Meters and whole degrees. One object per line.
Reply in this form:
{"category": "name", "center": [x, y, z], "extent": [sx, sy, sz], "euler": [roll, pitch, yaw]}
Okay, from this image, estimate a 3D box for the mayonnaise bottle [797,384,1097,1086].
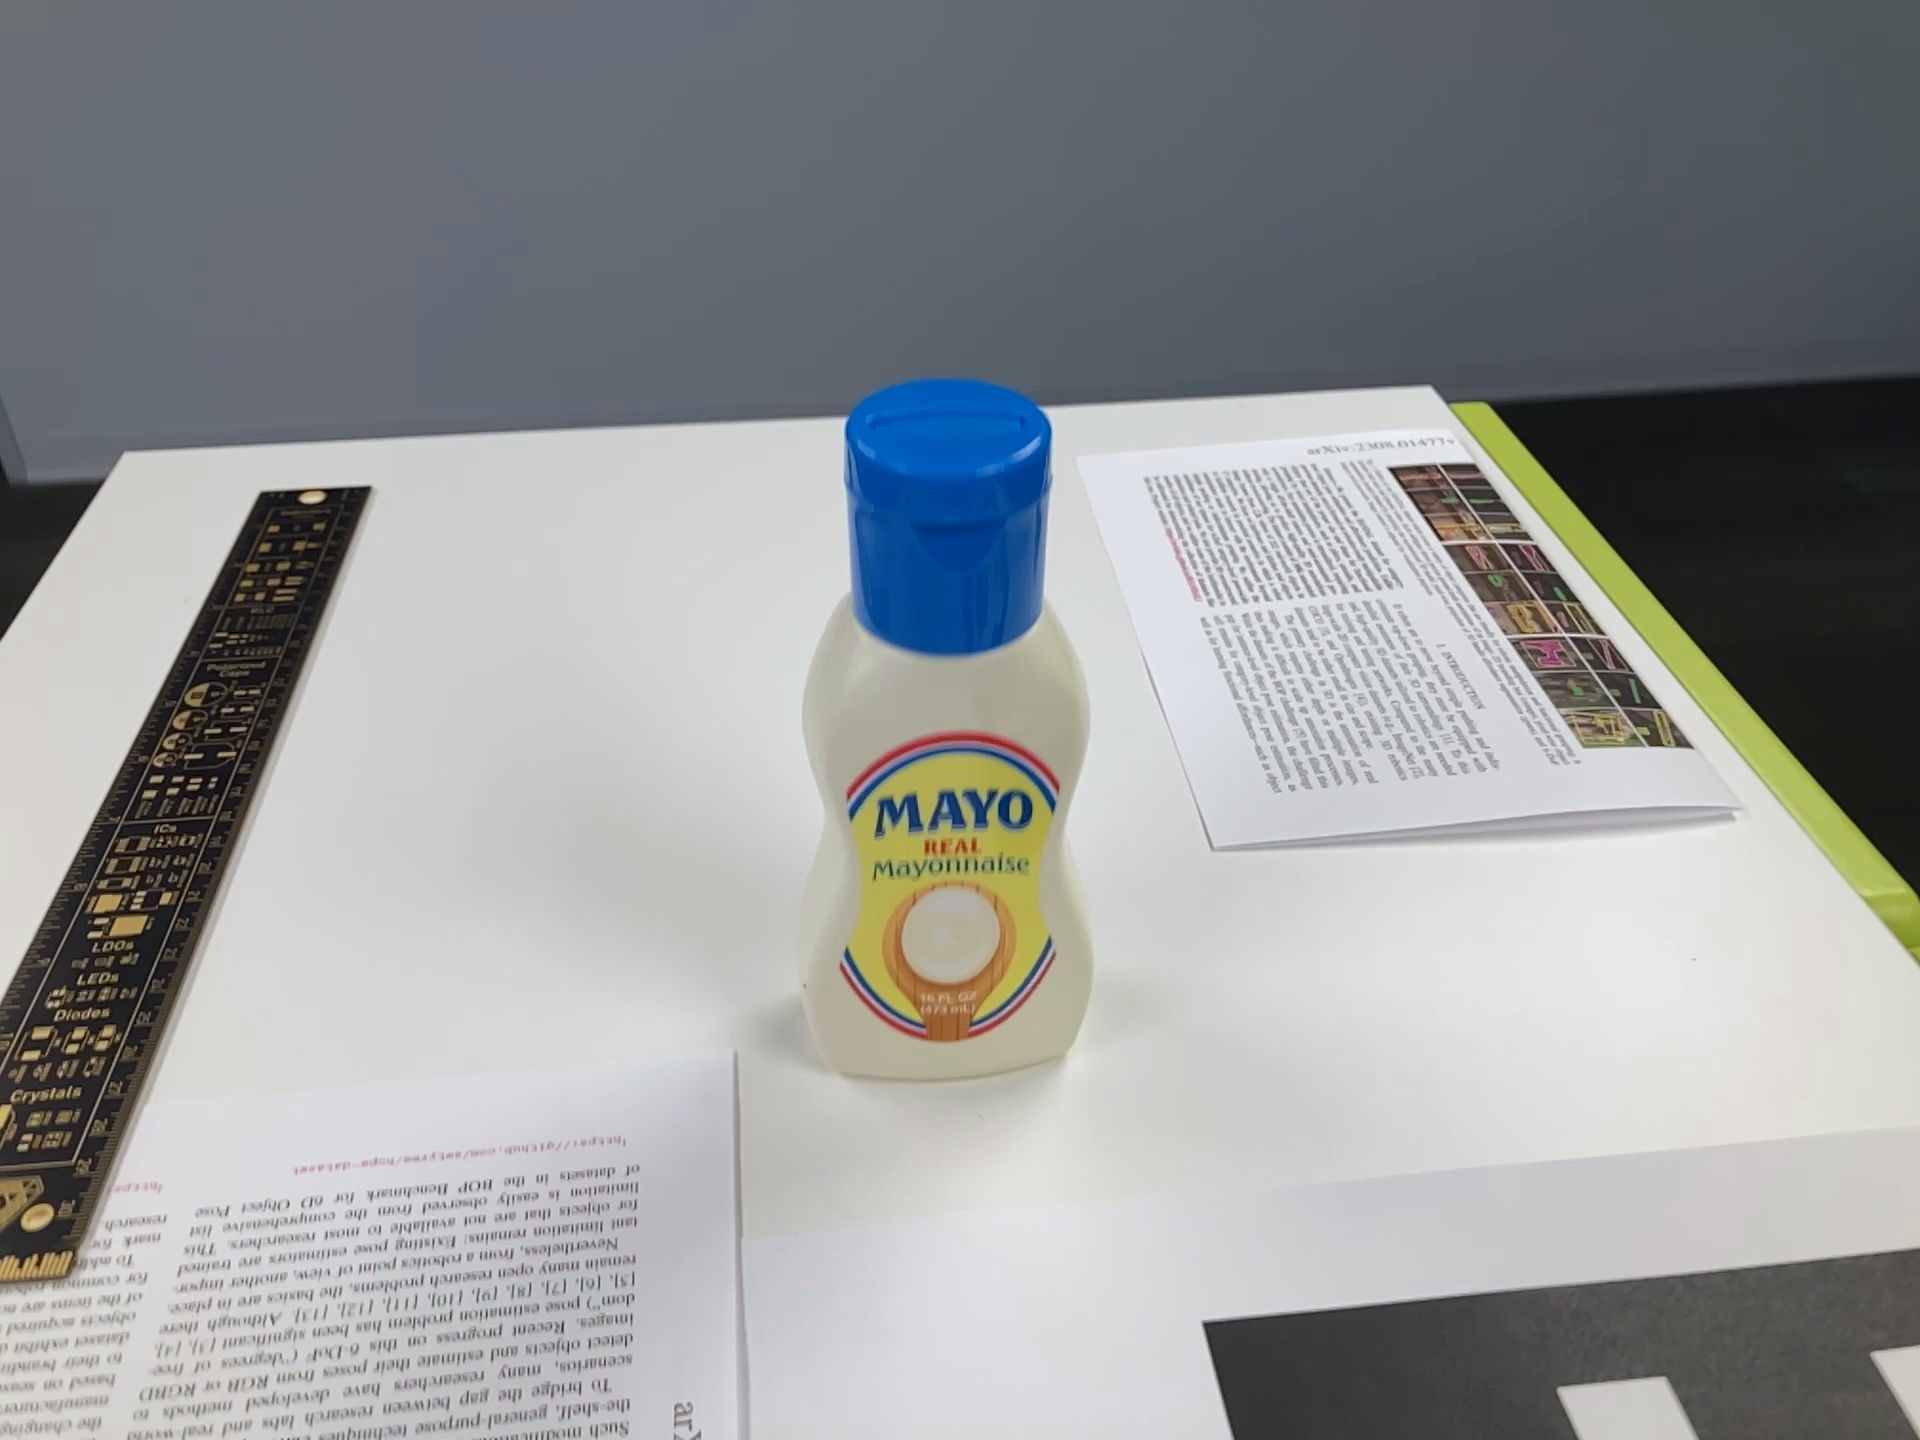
{"category": "mayonnaise bottle", "center": [-0.003, 0.009, 0.313], "extent": [0.065, 0.148, 0.041], "euler": [-4, 37, -5]}
